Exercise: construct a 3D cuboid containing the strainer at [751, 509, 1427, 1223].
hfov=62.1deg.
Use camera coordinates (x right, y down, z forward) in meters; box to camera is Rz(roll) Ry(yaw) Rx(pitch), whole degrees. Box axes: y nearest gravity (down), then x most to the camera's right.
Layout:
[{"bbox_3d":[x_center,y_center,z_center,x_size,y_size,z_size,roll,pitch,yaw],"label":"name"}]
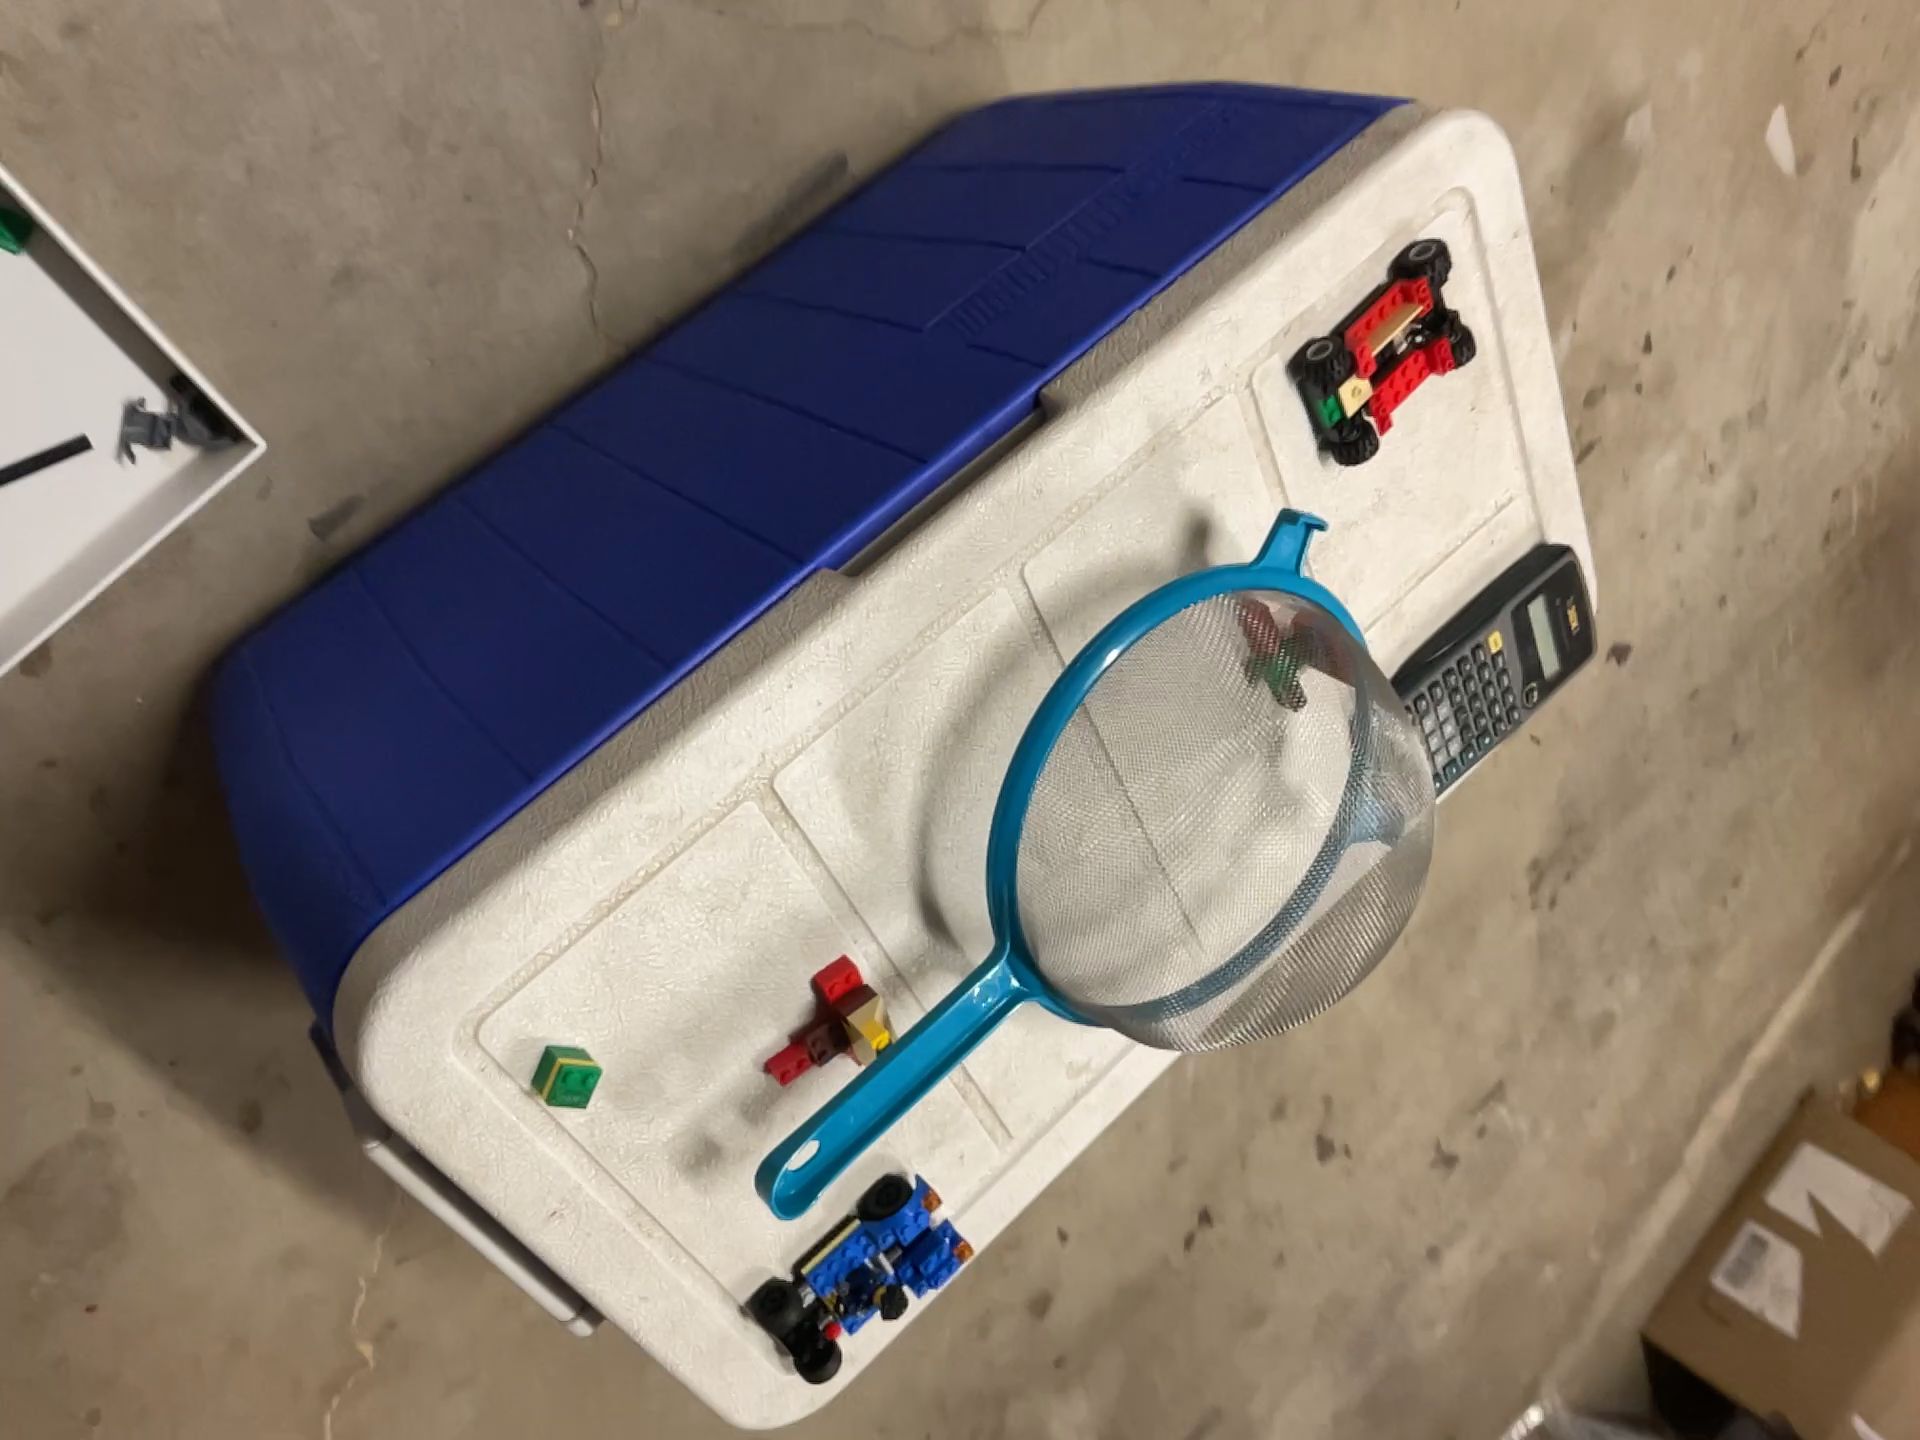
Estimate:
[{"bbox_3d":[0.071,0.090,0.620,0.340,0.095,0.210,-40,129,-16],"label":"strainer"}]
